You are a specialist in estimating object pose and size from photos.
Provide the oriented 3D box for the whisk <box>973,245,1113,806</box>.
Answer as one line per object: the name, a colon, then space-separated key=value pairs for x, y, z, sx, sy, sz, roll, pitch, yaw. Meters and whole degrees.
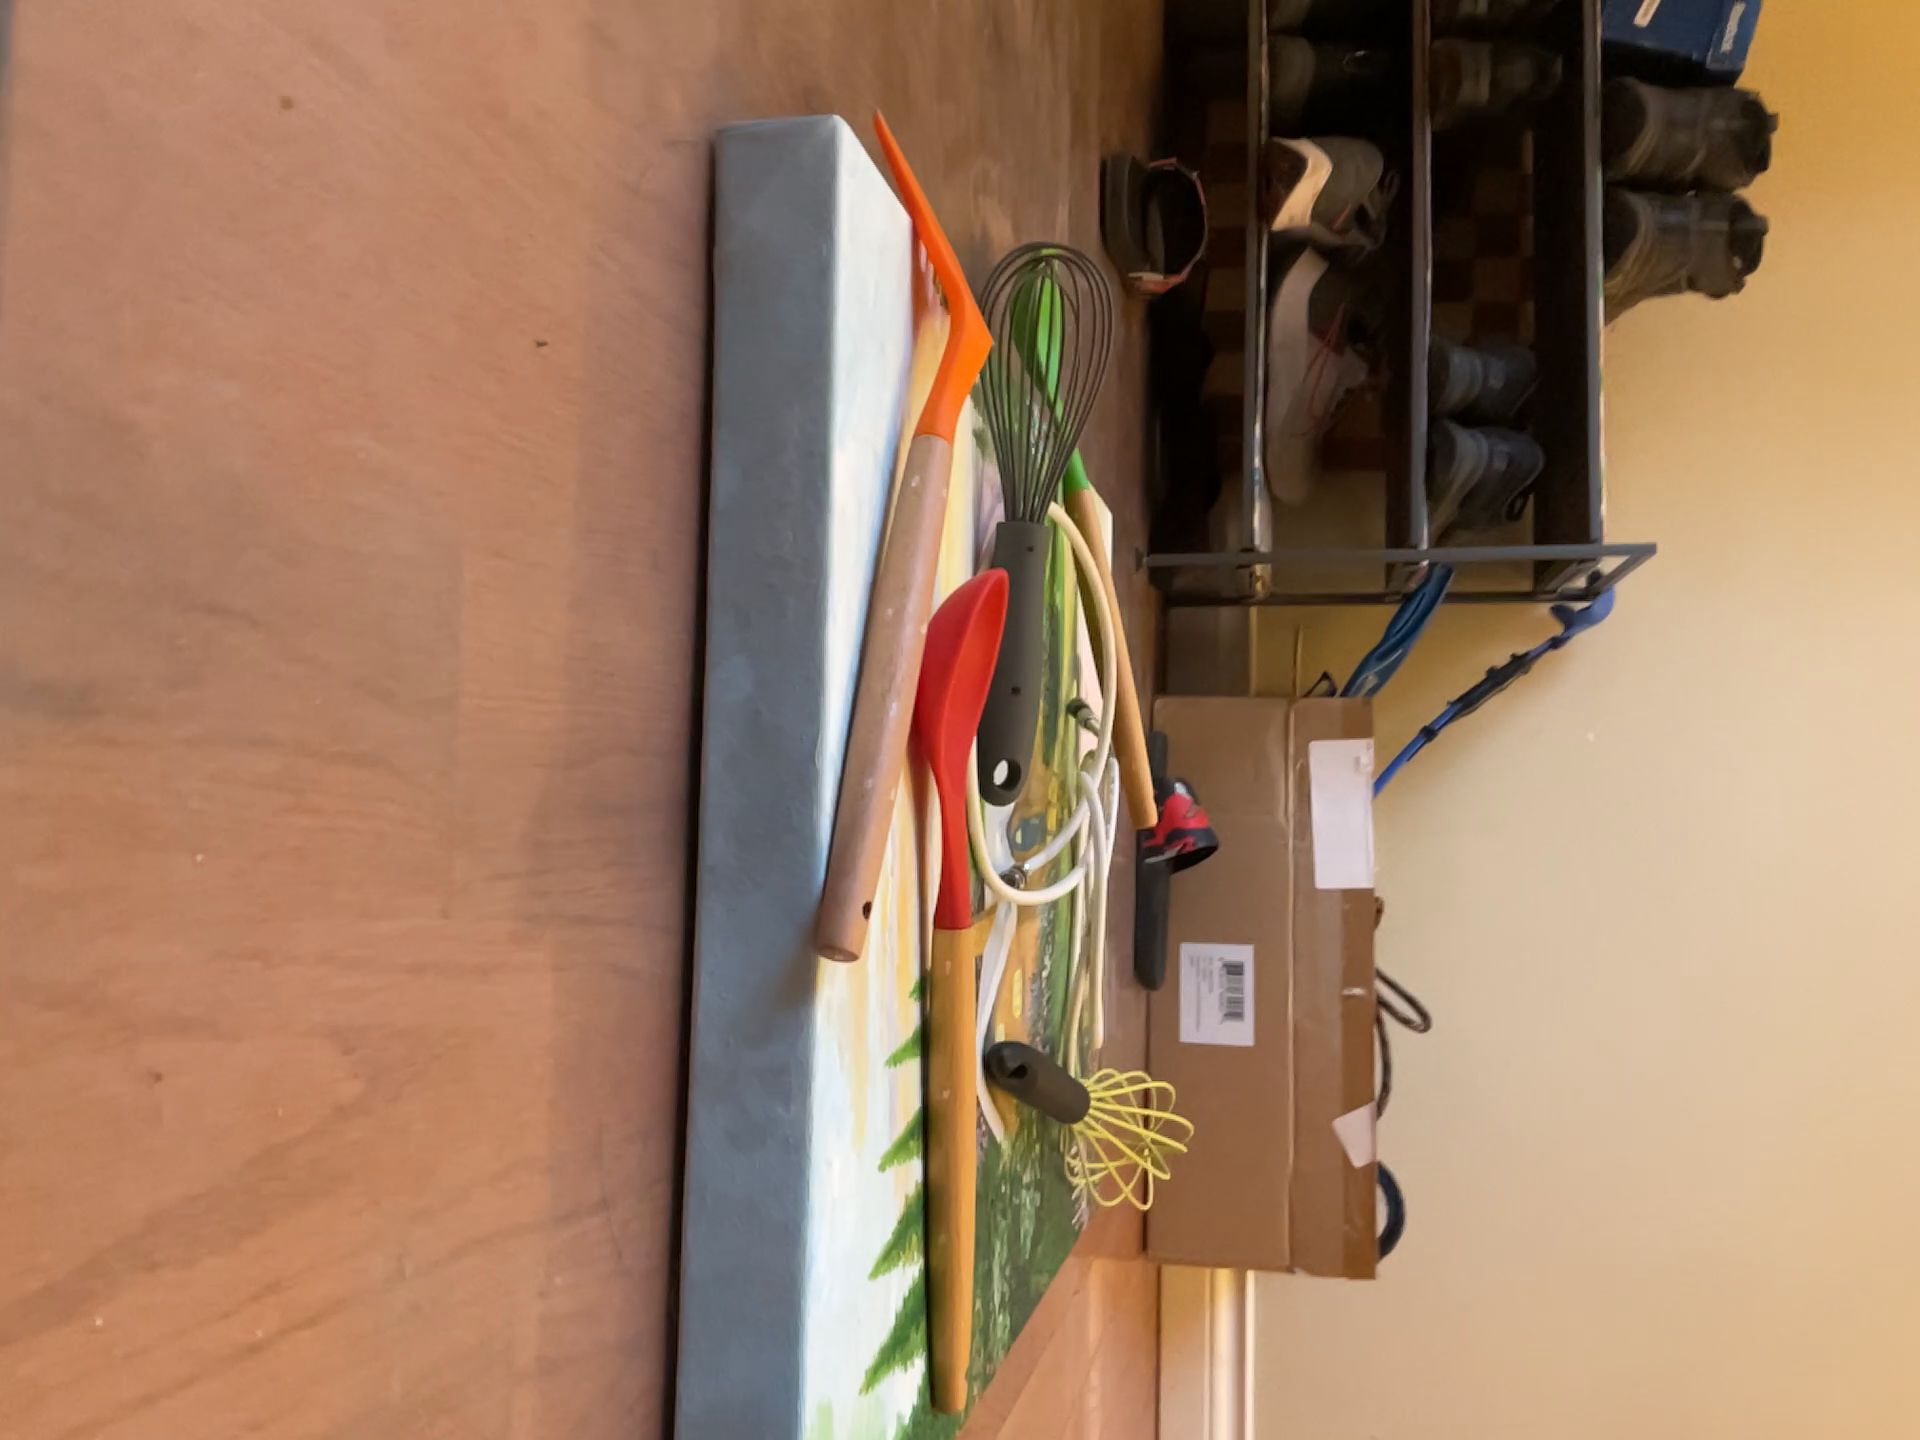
whisk: x=0.029 y=-0.081 z=0.675 sx=0.055 sy=0.055 sz=0.239 roll=-8 pitch=105 yaw=-67

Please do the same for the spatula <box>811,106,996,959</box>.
spatula: x=-0.021 y=-0.073 z=0.537 sx=0.080 sy=0.041 sz=0.323 roll=53 pitch=40 yaw=-52

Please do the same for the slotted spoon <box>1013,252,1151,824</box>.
slotted spoon: x=0.067 y=-0.099 z=0.854 sx=0.070 sy=0.031 sz=0.314 roll=7 pitch=72 yaw=-78

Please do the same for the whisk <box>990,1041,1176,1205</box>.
whisk: x=0.063 y=0.204 z=0.836 sx=0.311 sy=0.067 sz=0.080 roll=51 pitch=36 yaw=-62

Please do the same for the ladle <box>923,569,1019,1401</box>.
ladle: x=-0.001 y=0.101 z=0.594 sx=0.069 sy=0.031 sz=0.315 roll=-17 pitch=110 yaw=-75
